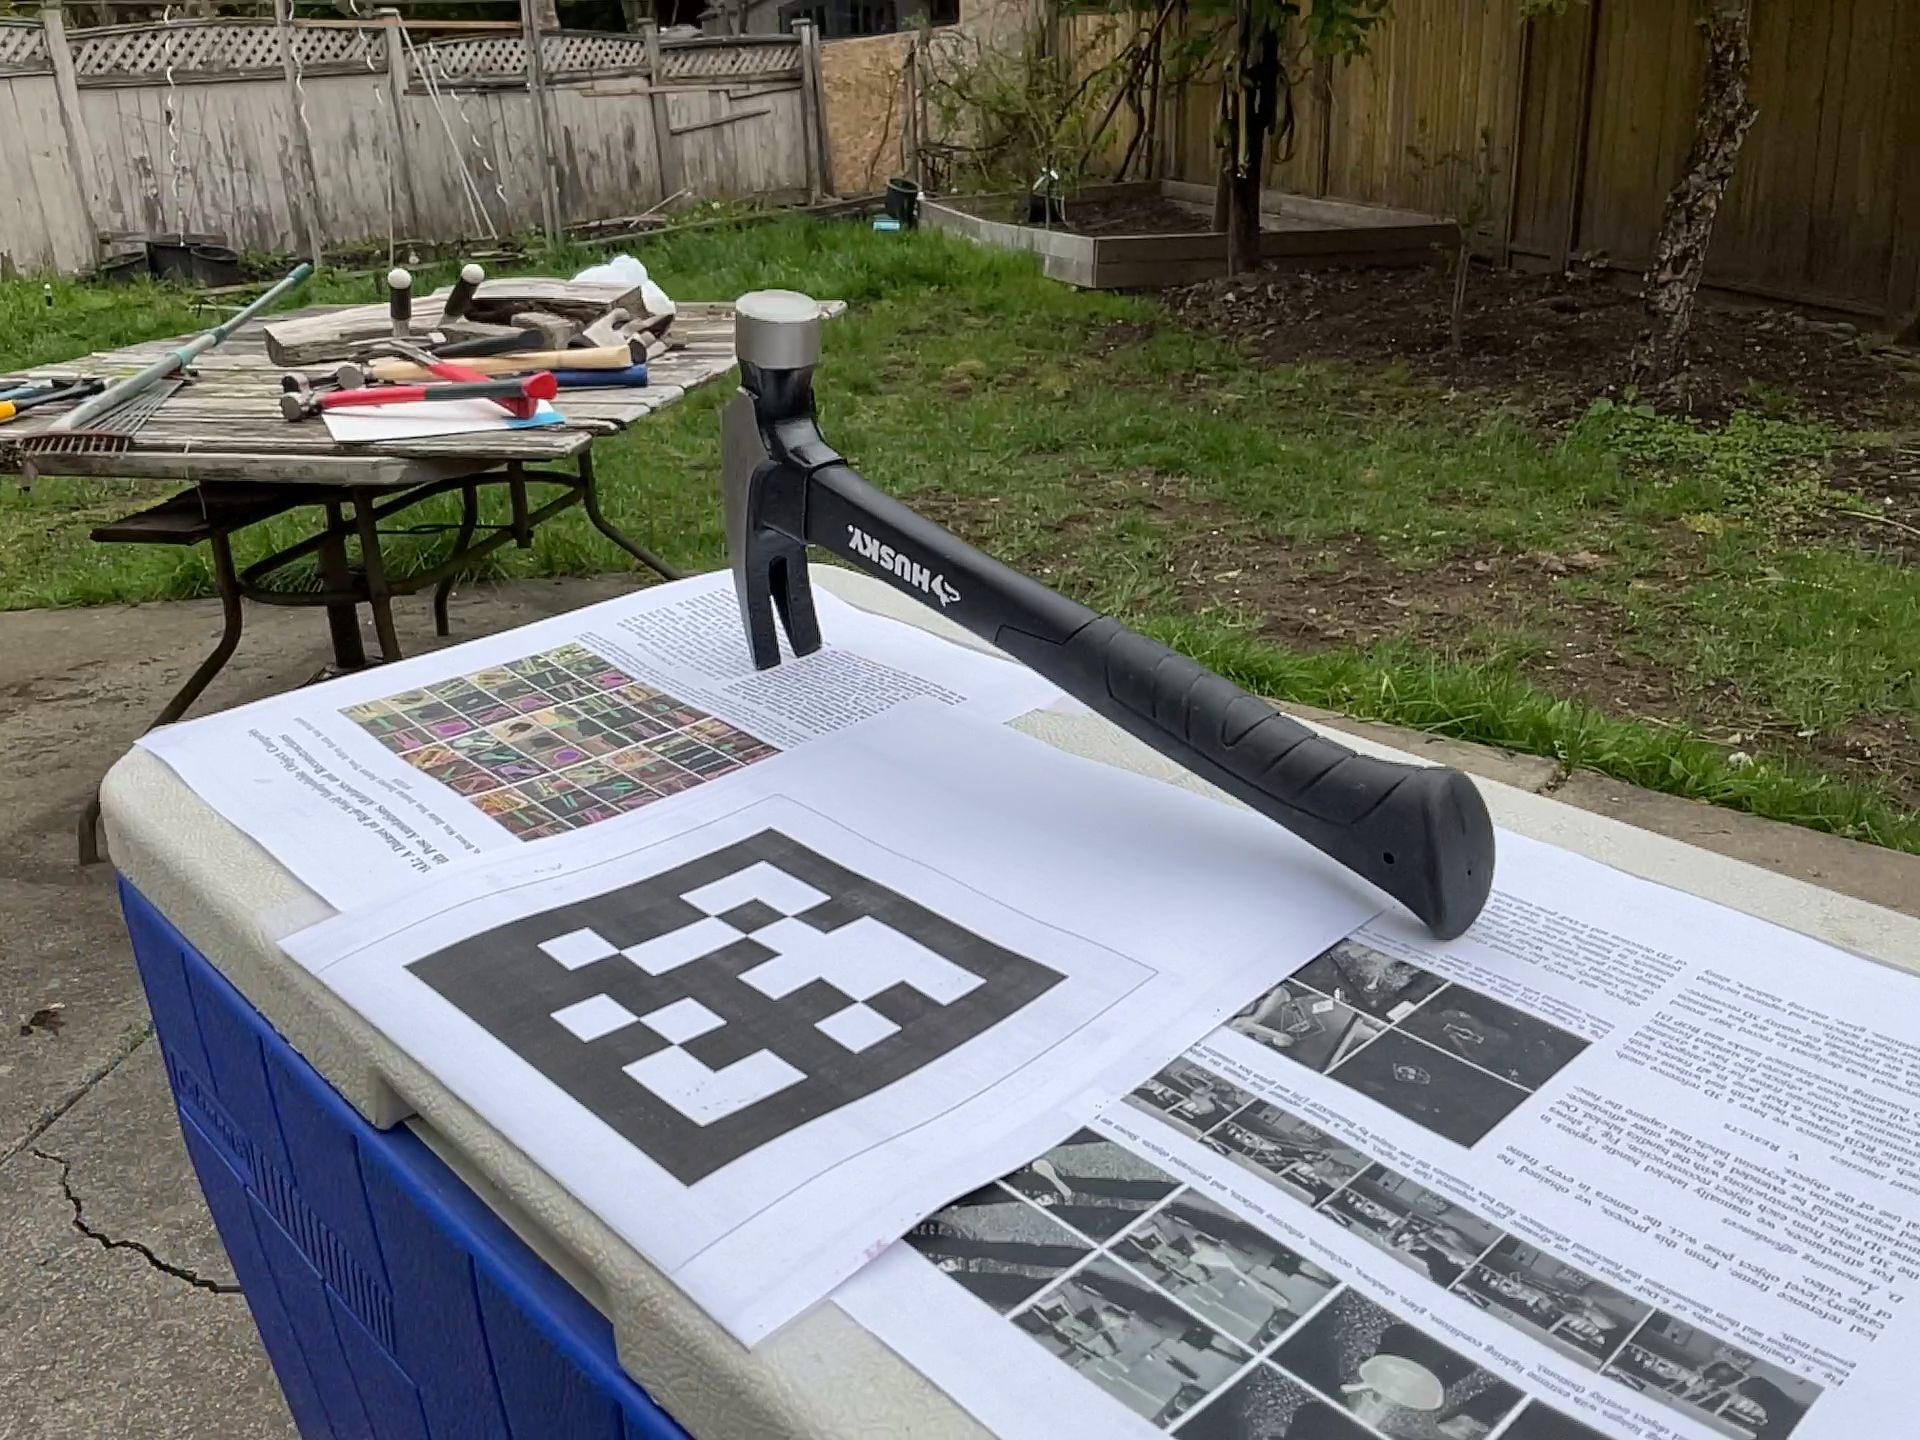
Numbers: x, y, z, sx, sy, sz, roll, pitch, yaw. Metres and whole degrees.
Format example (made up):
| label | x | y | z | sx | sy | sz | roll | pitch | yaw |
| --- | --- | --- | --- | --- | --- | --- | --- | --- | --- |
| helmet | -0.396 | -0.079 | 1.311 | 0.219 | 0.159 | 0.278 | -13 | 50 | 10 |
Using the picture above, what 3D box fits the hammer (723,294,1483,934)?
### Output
| label | x | y | z | sx | sy | sz | roll | pitch | yaw |
| --- | --- | --- | --- | --- | --- | --- | --- | --- | --- |
| hammer | 0.028 | -0.026 | 0.547 | 0.035 | 0.146 | 0.335 | -23 | 43 | -38 |
